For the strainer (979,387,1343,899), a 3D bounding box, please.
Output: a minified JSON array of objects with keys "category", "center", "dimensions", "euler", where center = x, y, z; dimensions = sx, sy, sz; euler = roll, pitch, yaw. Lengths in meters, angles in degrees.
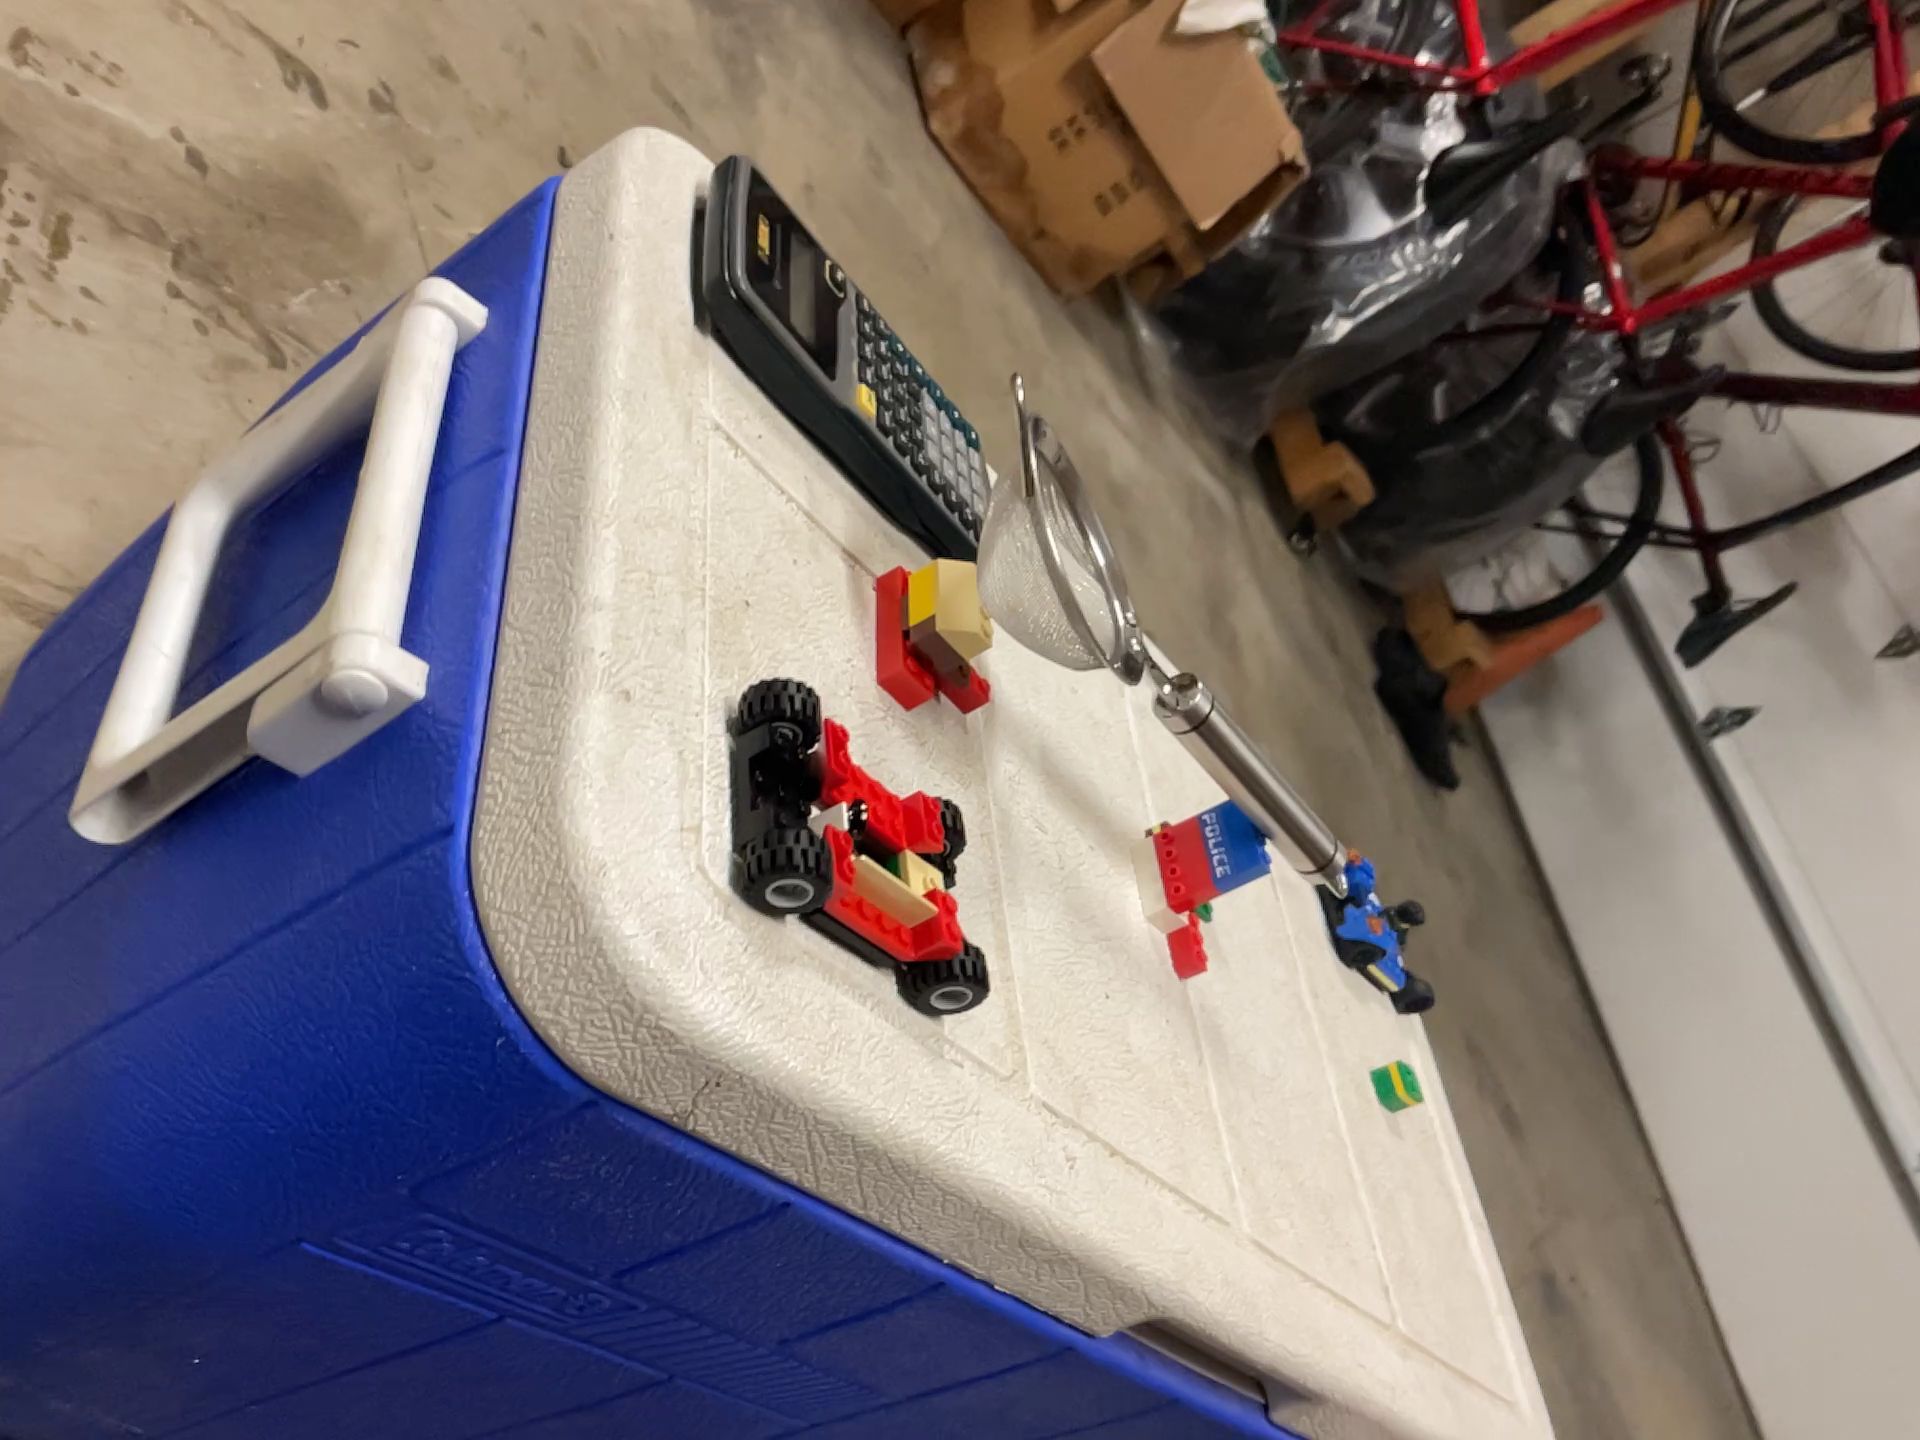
[{"category":"strainer","center":[0.069,-0.007,0.524],"dimensions":[0.258,0.050,0.087],"euler":[45,30,-37]}]
